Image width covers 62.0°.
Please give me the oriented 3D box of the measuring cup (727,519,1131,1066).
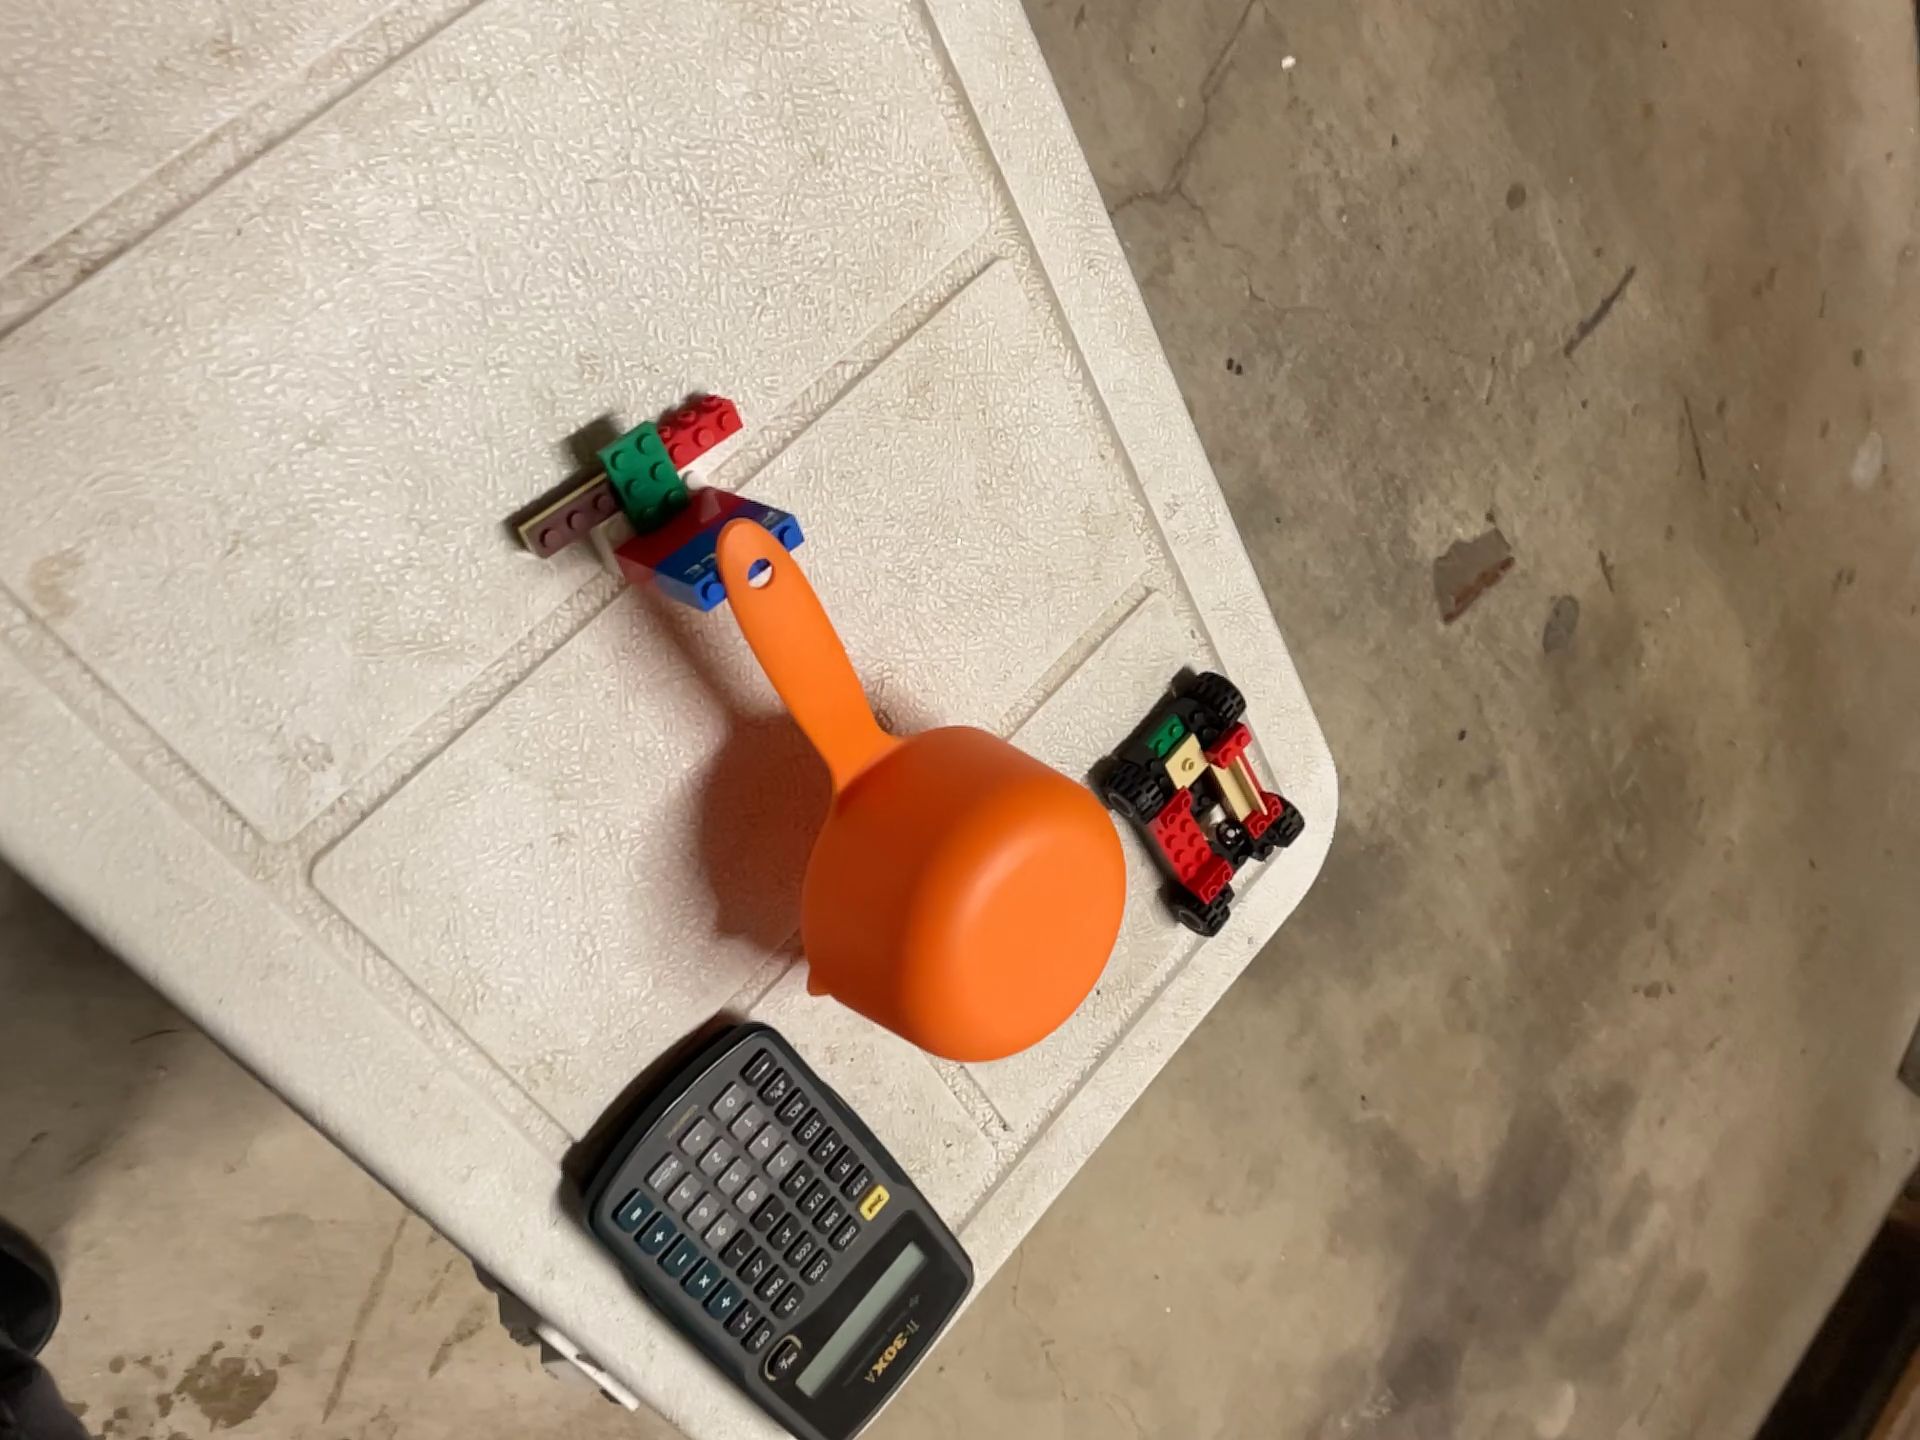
[{"bbox_3d":[-0.008,0.021,0.410,0.095,0.052,0.173,-45,134,-21],"label":"measuring cup"}]
